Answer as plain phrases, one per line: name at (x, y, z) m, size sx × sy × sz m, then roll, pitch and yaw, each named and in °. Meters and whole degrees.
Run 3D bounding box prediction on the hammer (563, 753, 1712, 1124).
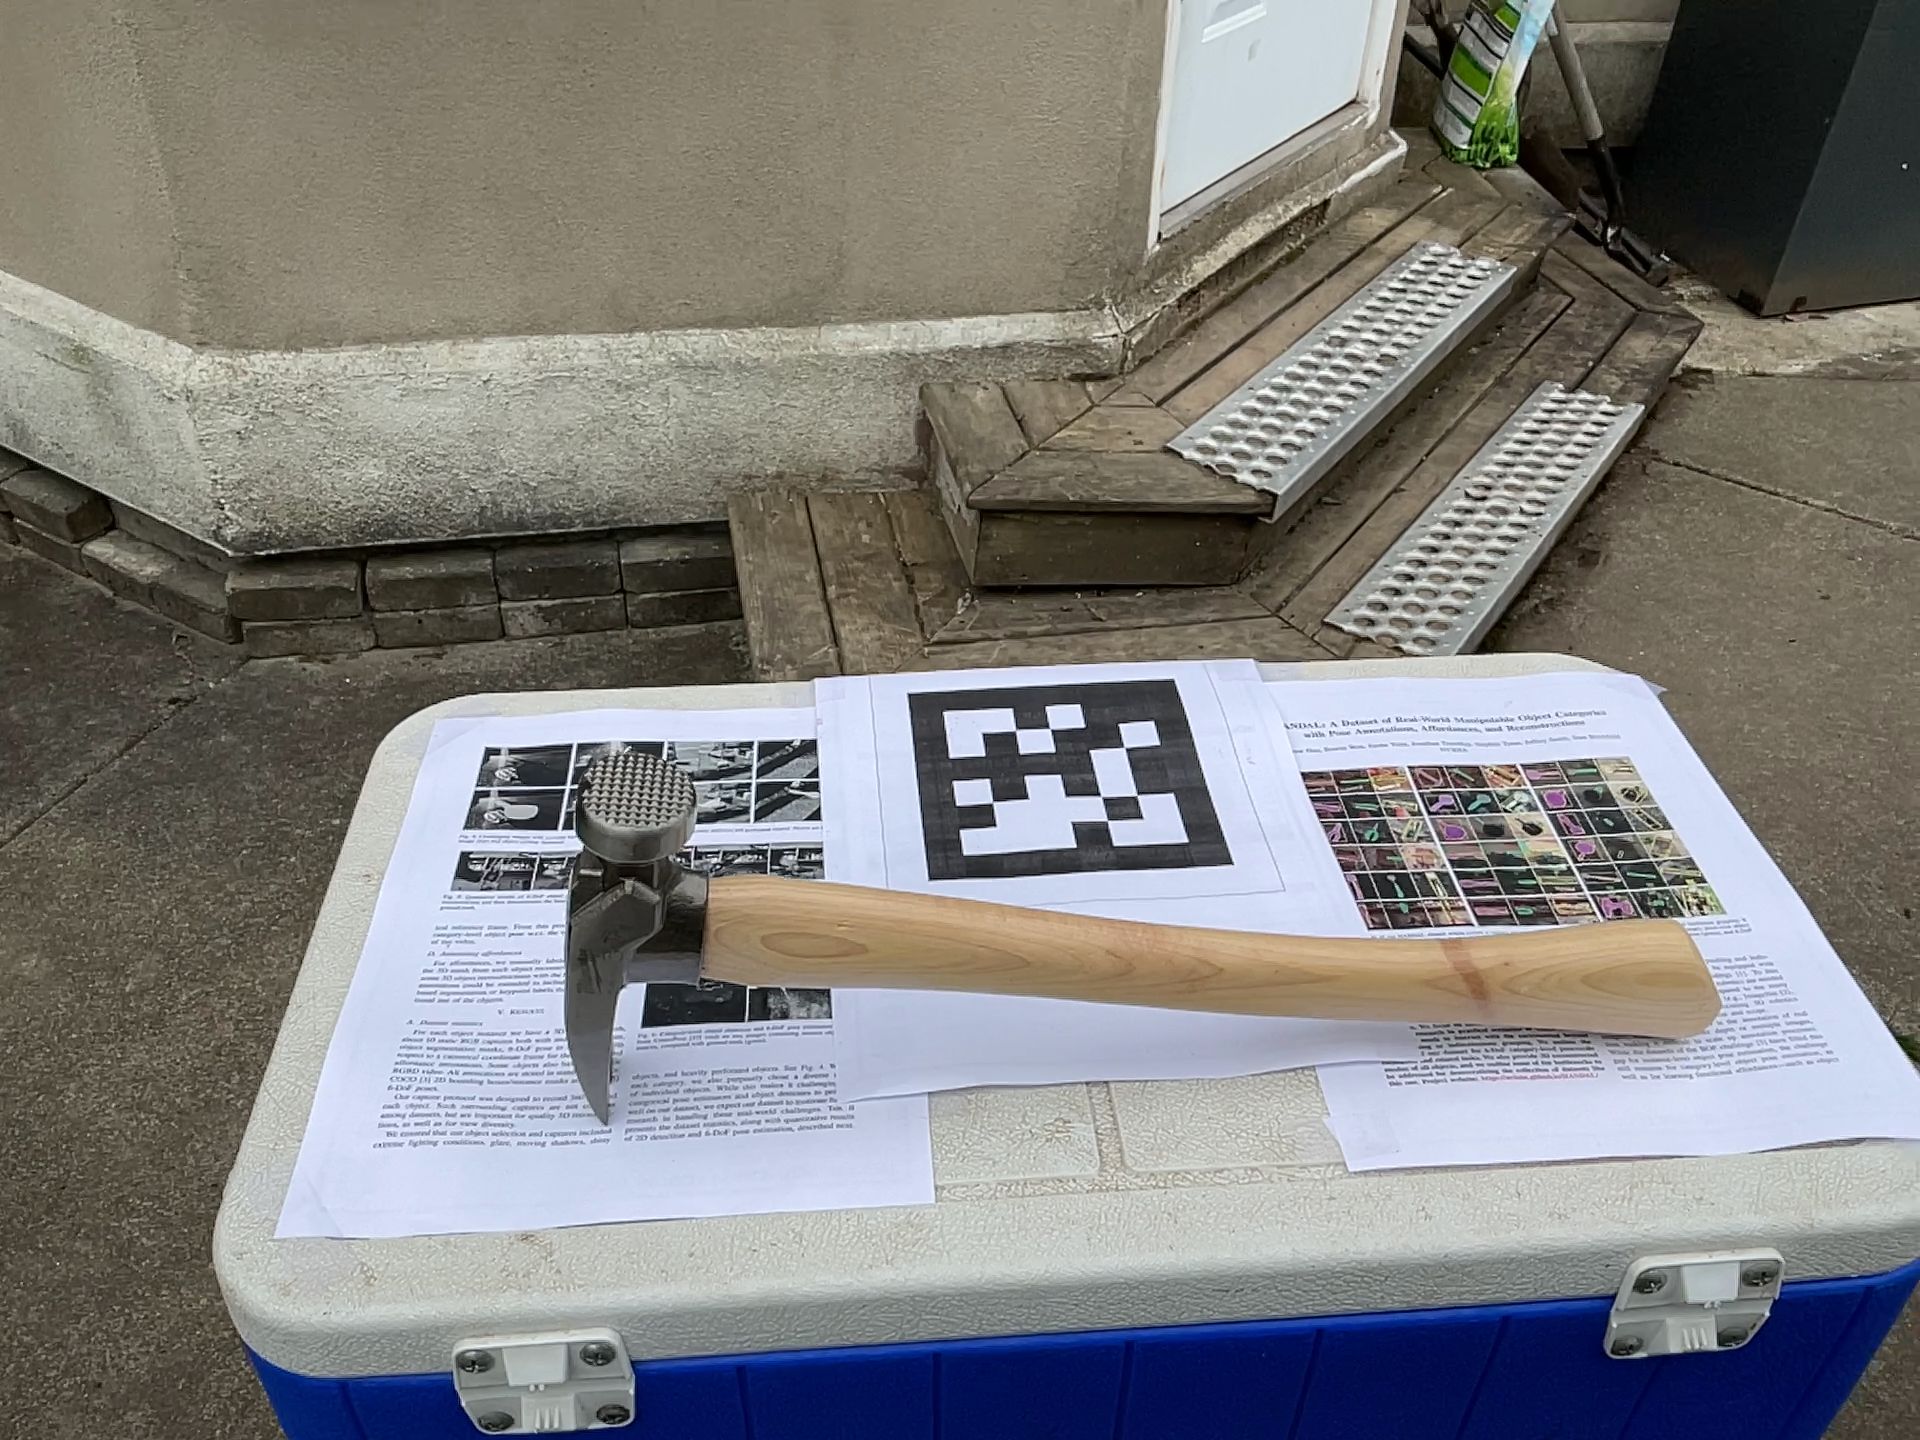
hammer at (0.069, 0.094, 0.571) m, size 0.410 × 0.146 × 0.038 m, roll 5°, pitch 37°, yaw -10°
